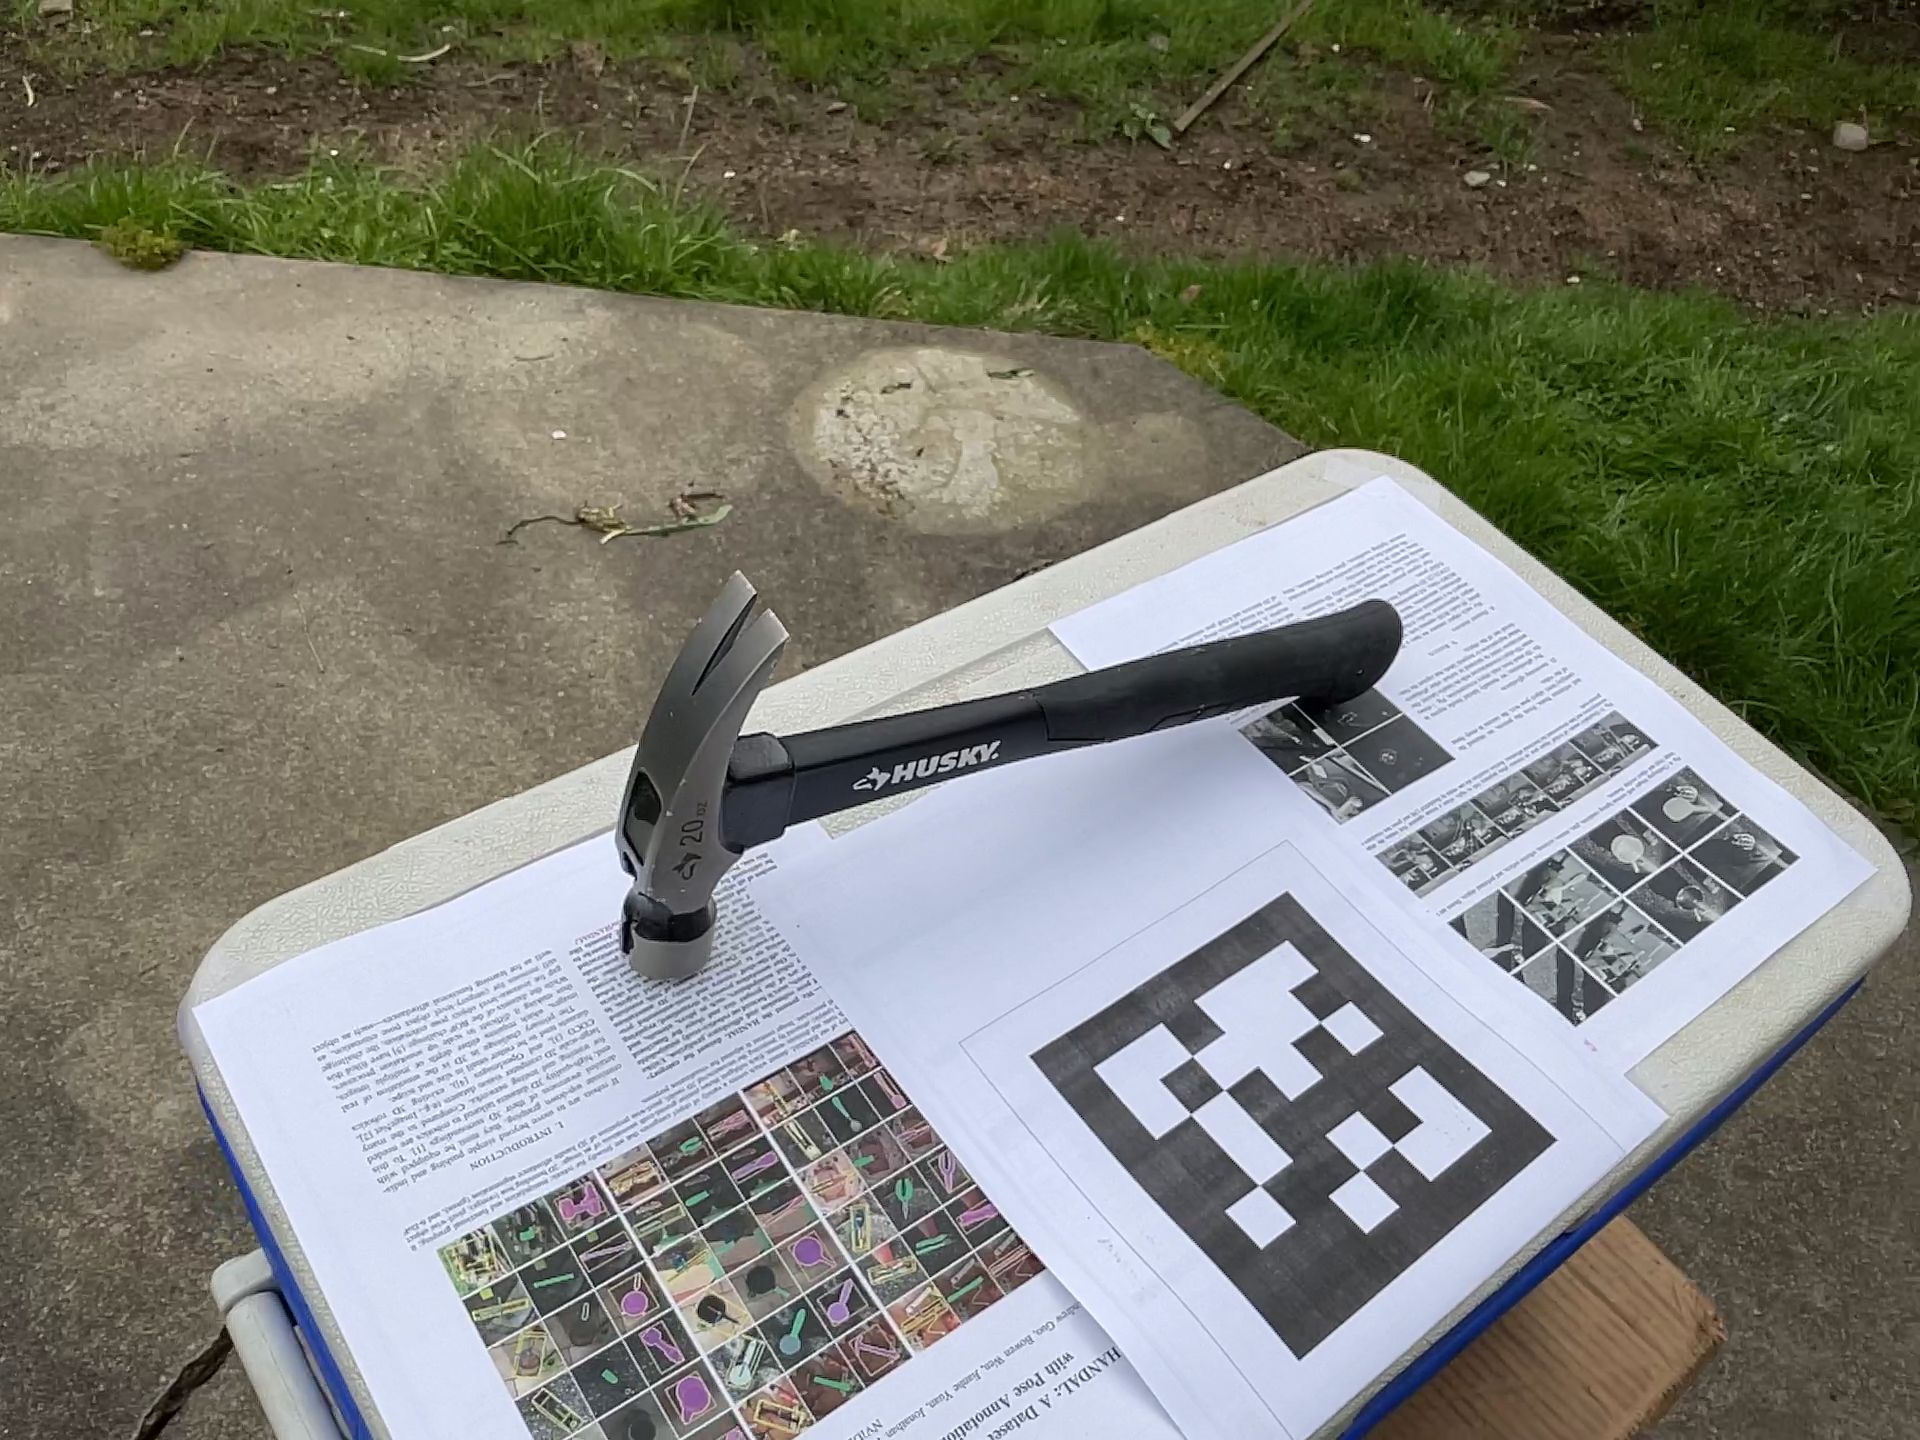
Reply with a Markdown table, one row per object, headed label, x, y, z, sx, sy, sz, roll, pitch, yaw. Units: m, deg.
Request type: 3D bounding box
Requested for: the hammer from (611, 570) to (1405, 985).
| label | x | y | z | sx | sy | sz | roll | pitch | yaw |
| --- | --- | --- | --- | --- | --- | --- | --- | --- | --- |
| hammer | 0.038 | -0.005 | 0.580 | 0.334 | 0.146 | 0.035 | -13 | 46 | -32 |
